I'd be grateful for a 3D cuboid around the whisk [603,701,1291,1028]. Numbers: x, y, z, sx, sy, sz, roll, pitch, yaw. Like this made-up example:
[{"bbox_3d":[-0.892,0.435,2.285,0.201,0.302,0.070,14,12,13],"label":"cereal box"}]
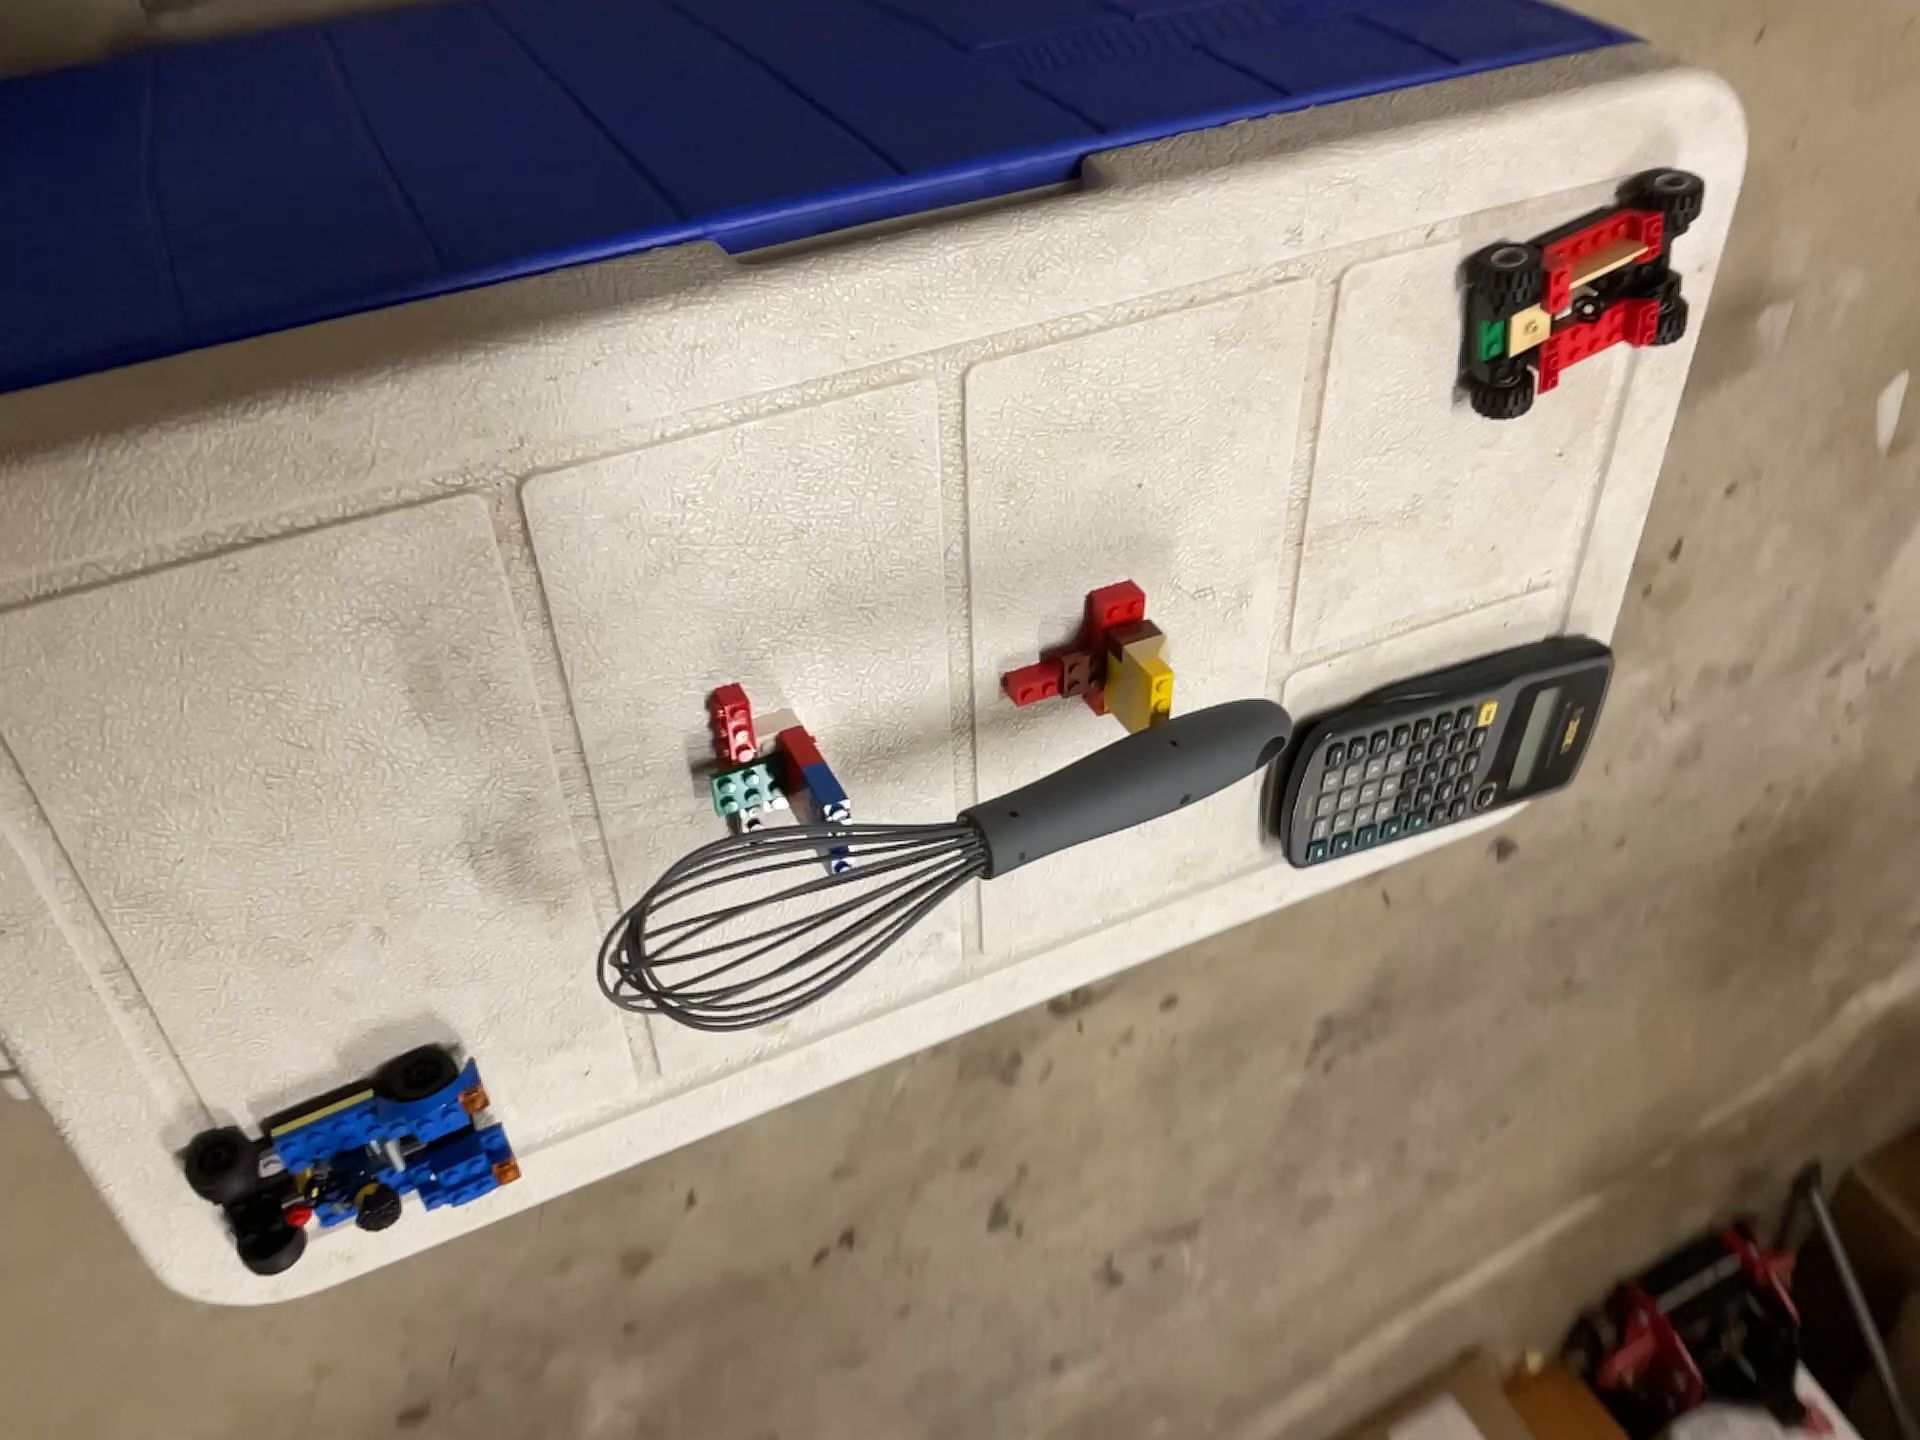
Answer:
[{"bbox_3d":[0.005,0.037,0.485,0.239,0.055,0.055,-19,135,-24],"label":"whisk"}]
